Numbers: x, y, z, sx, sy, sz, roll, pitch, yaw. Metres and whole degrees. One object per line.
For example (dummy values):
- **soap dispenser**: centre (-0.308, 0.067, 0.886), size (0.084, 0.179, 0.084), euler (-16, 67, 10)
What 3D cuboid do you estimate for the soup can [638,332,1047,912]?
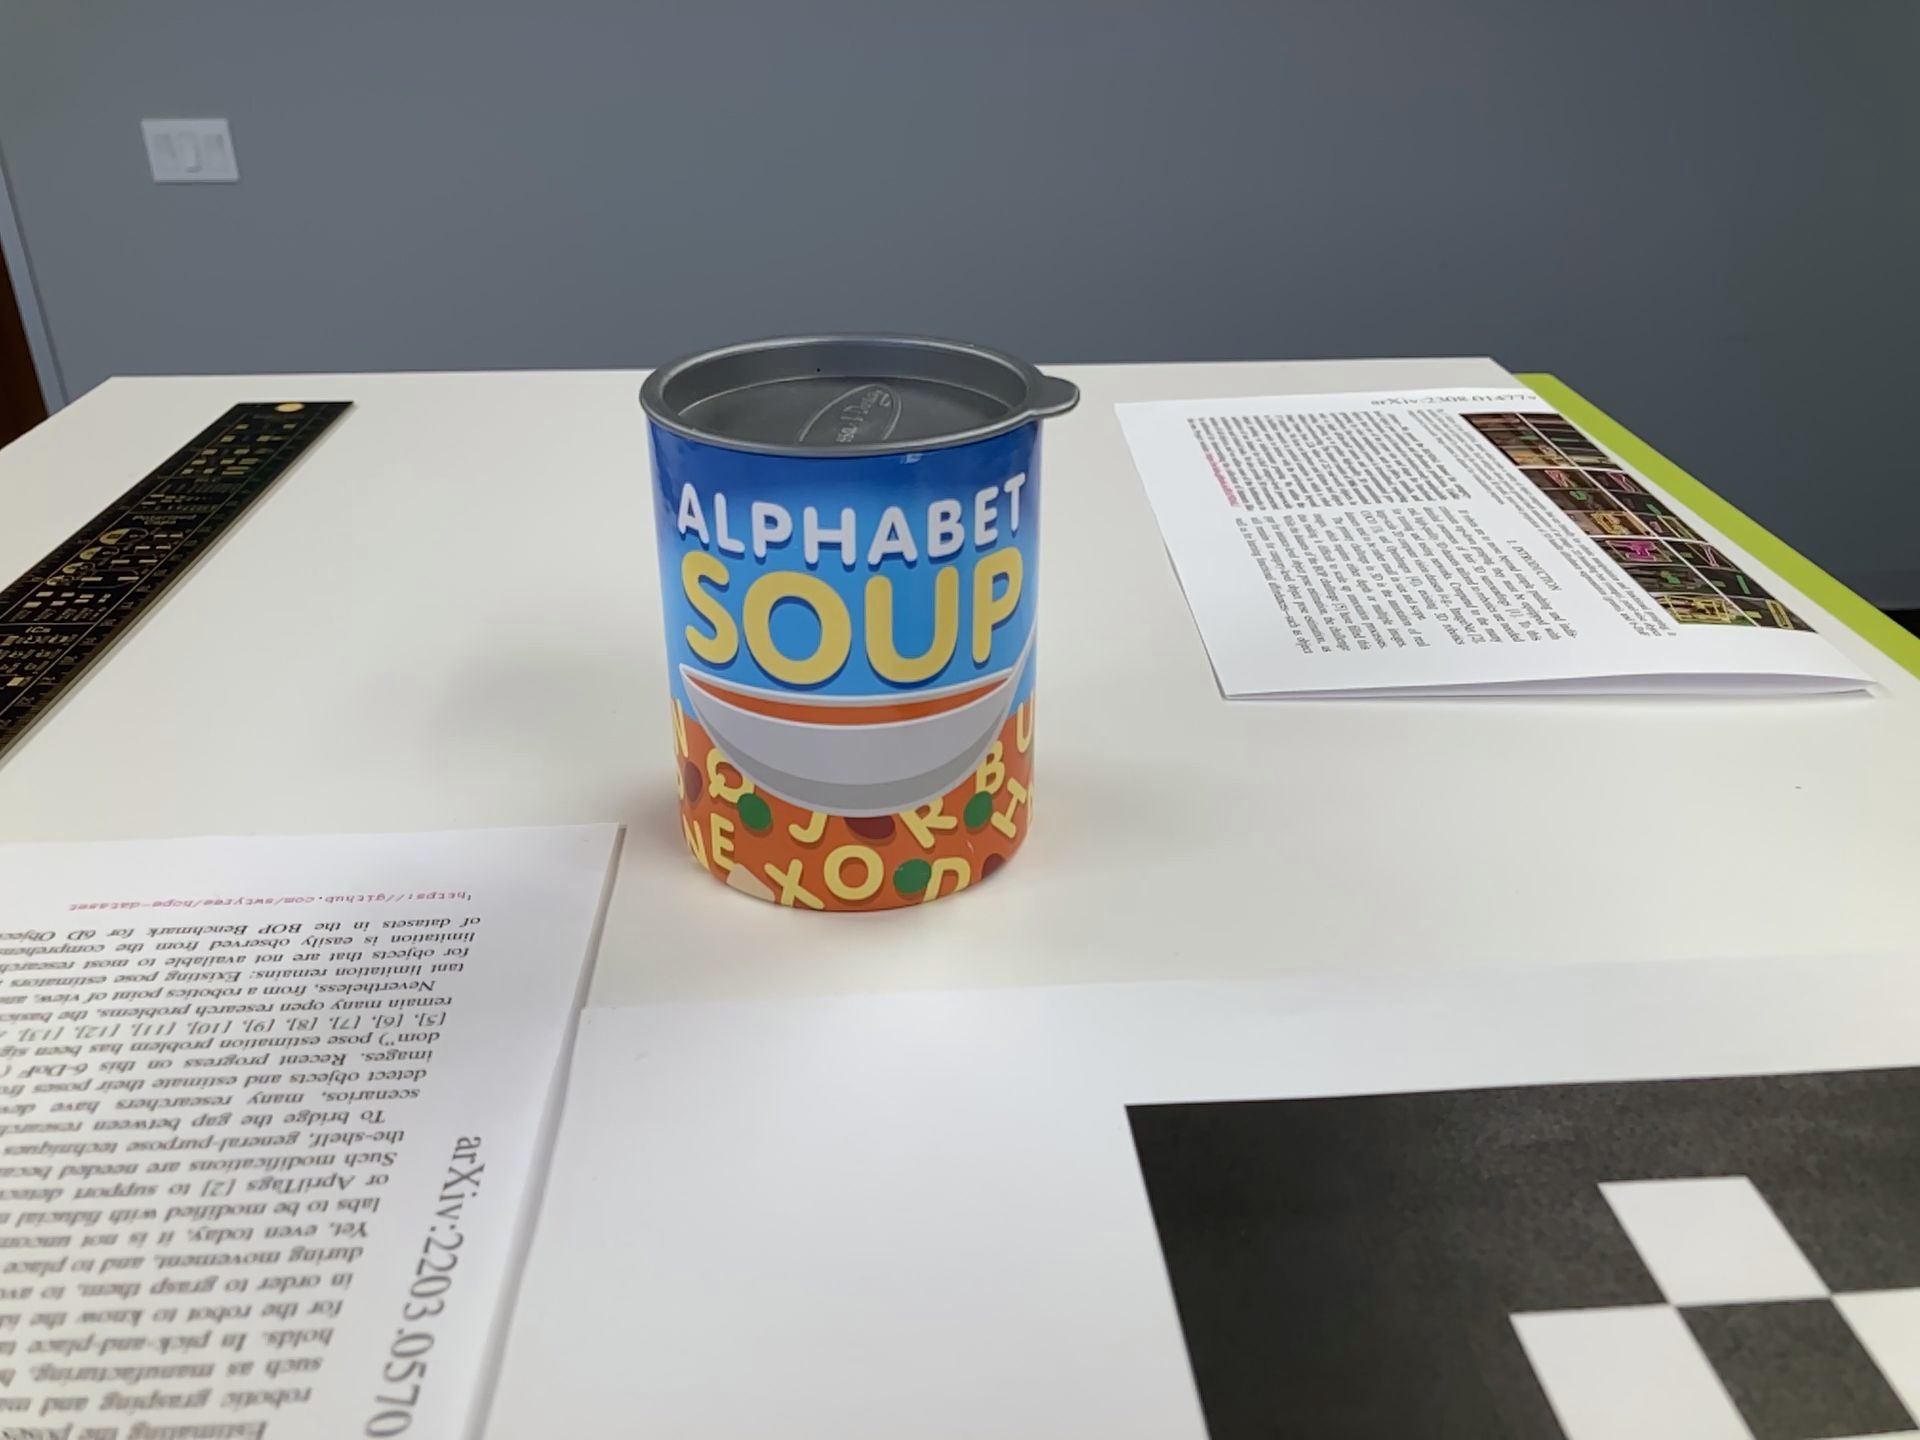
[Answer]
- **soup can**: centre (-0.018, -0.017, 0.275), size (0.071, 0.084, 0.071), euler (0, 27, 0)
